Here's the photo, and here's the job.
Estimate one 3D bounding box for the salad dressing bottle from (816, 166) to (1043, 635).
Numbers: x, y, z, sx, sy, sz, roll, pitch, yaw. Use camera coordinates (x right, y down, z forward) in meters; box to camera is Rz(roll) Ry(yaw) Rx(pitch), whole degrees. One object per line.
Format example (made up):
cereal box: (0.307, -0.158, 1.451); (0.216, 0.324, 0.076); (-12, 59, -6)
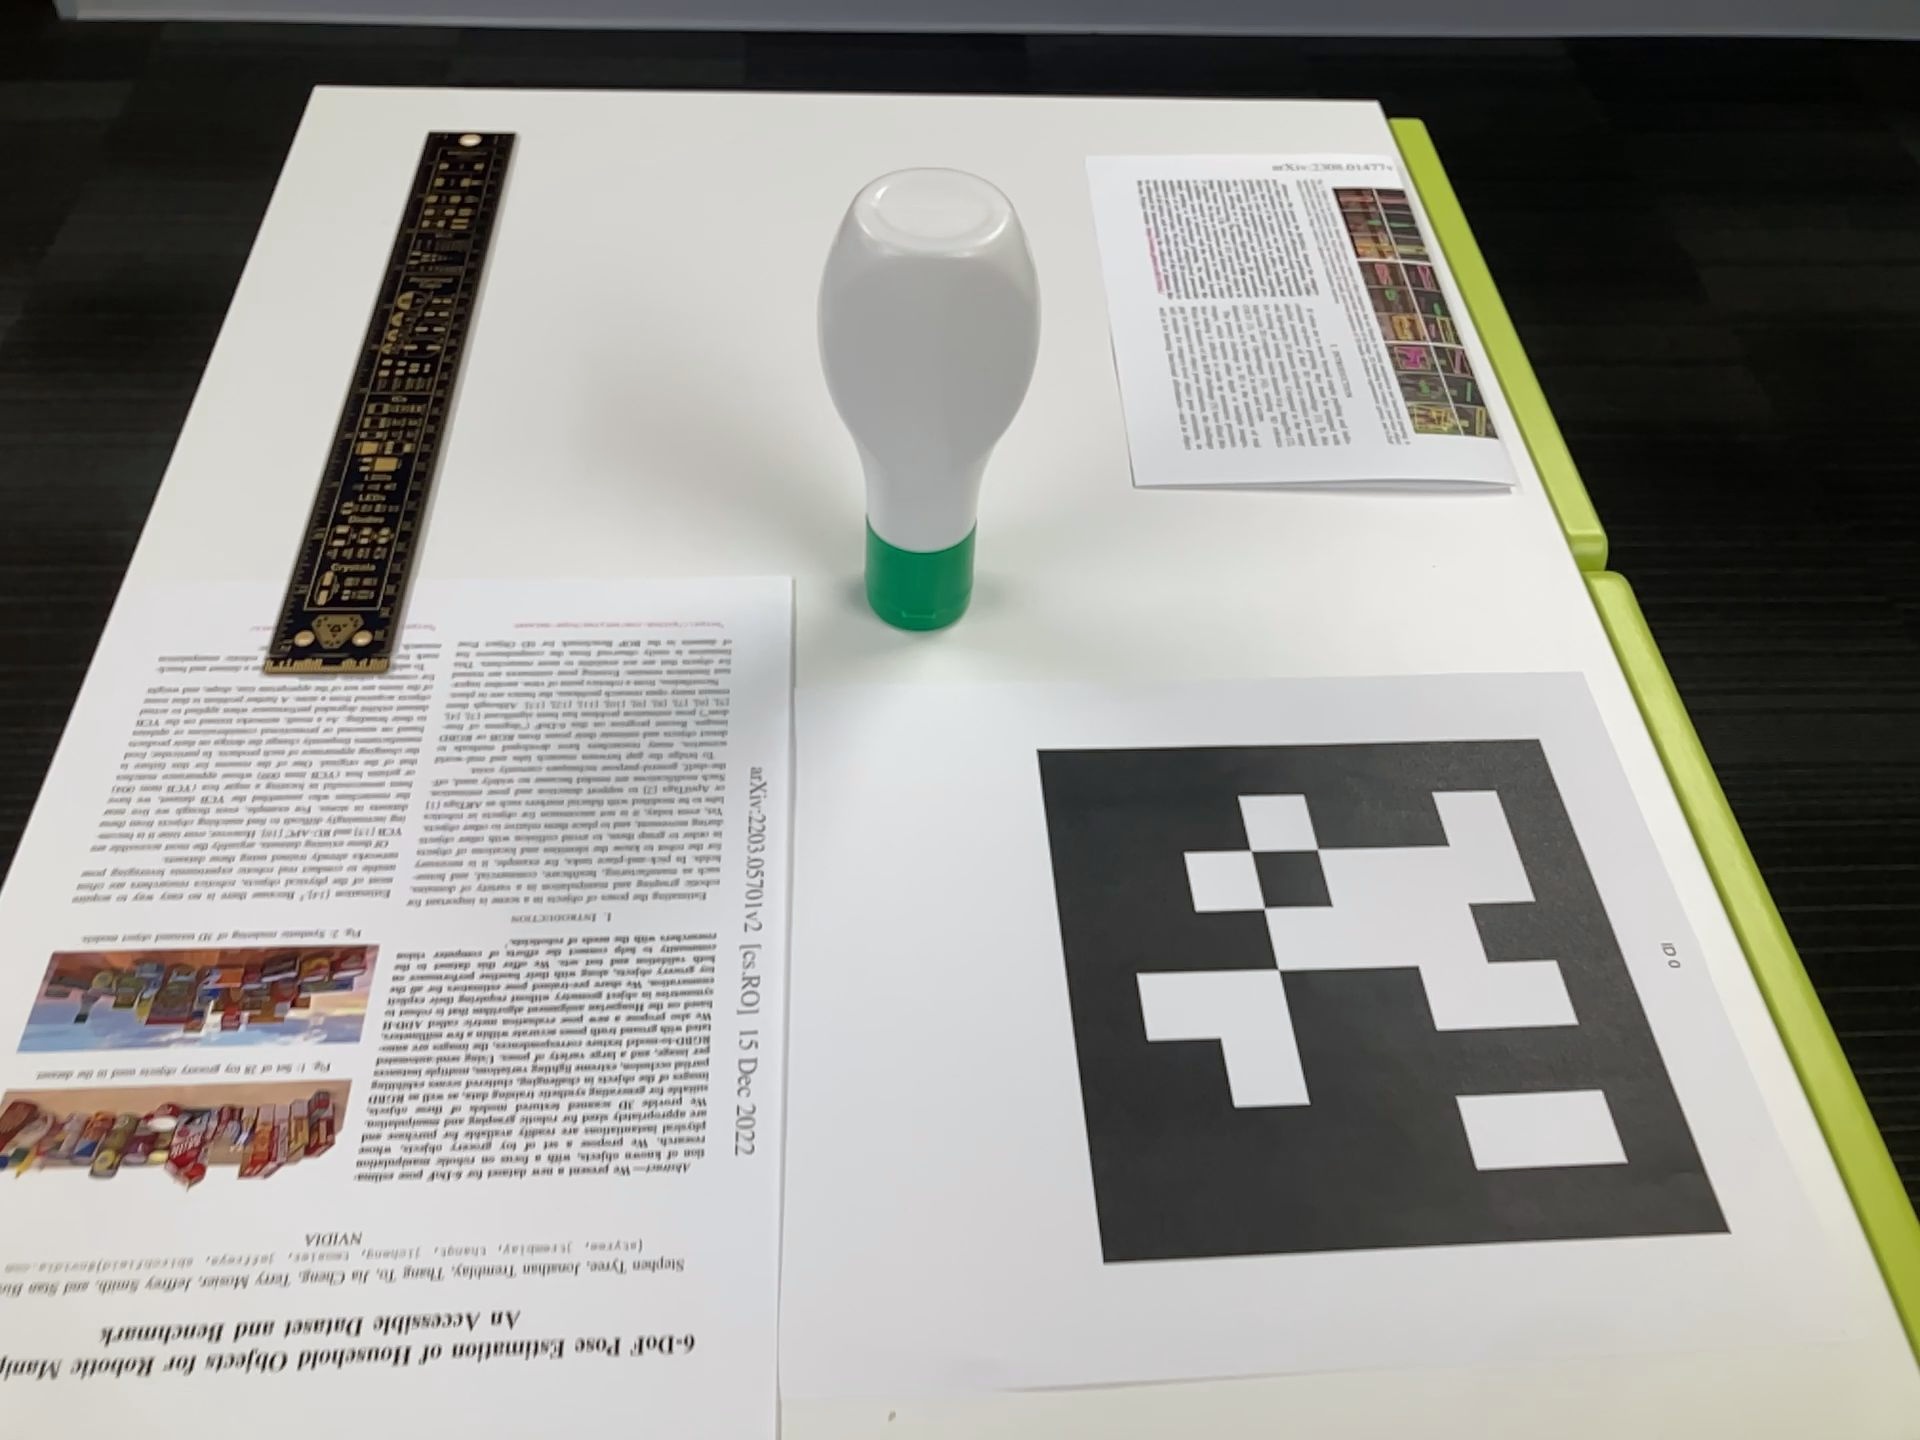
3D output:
salad dressing bottle: (-0.011, -0.089, 0.478); (0.064, 0.147, 0.044); (1, 49, -3)
